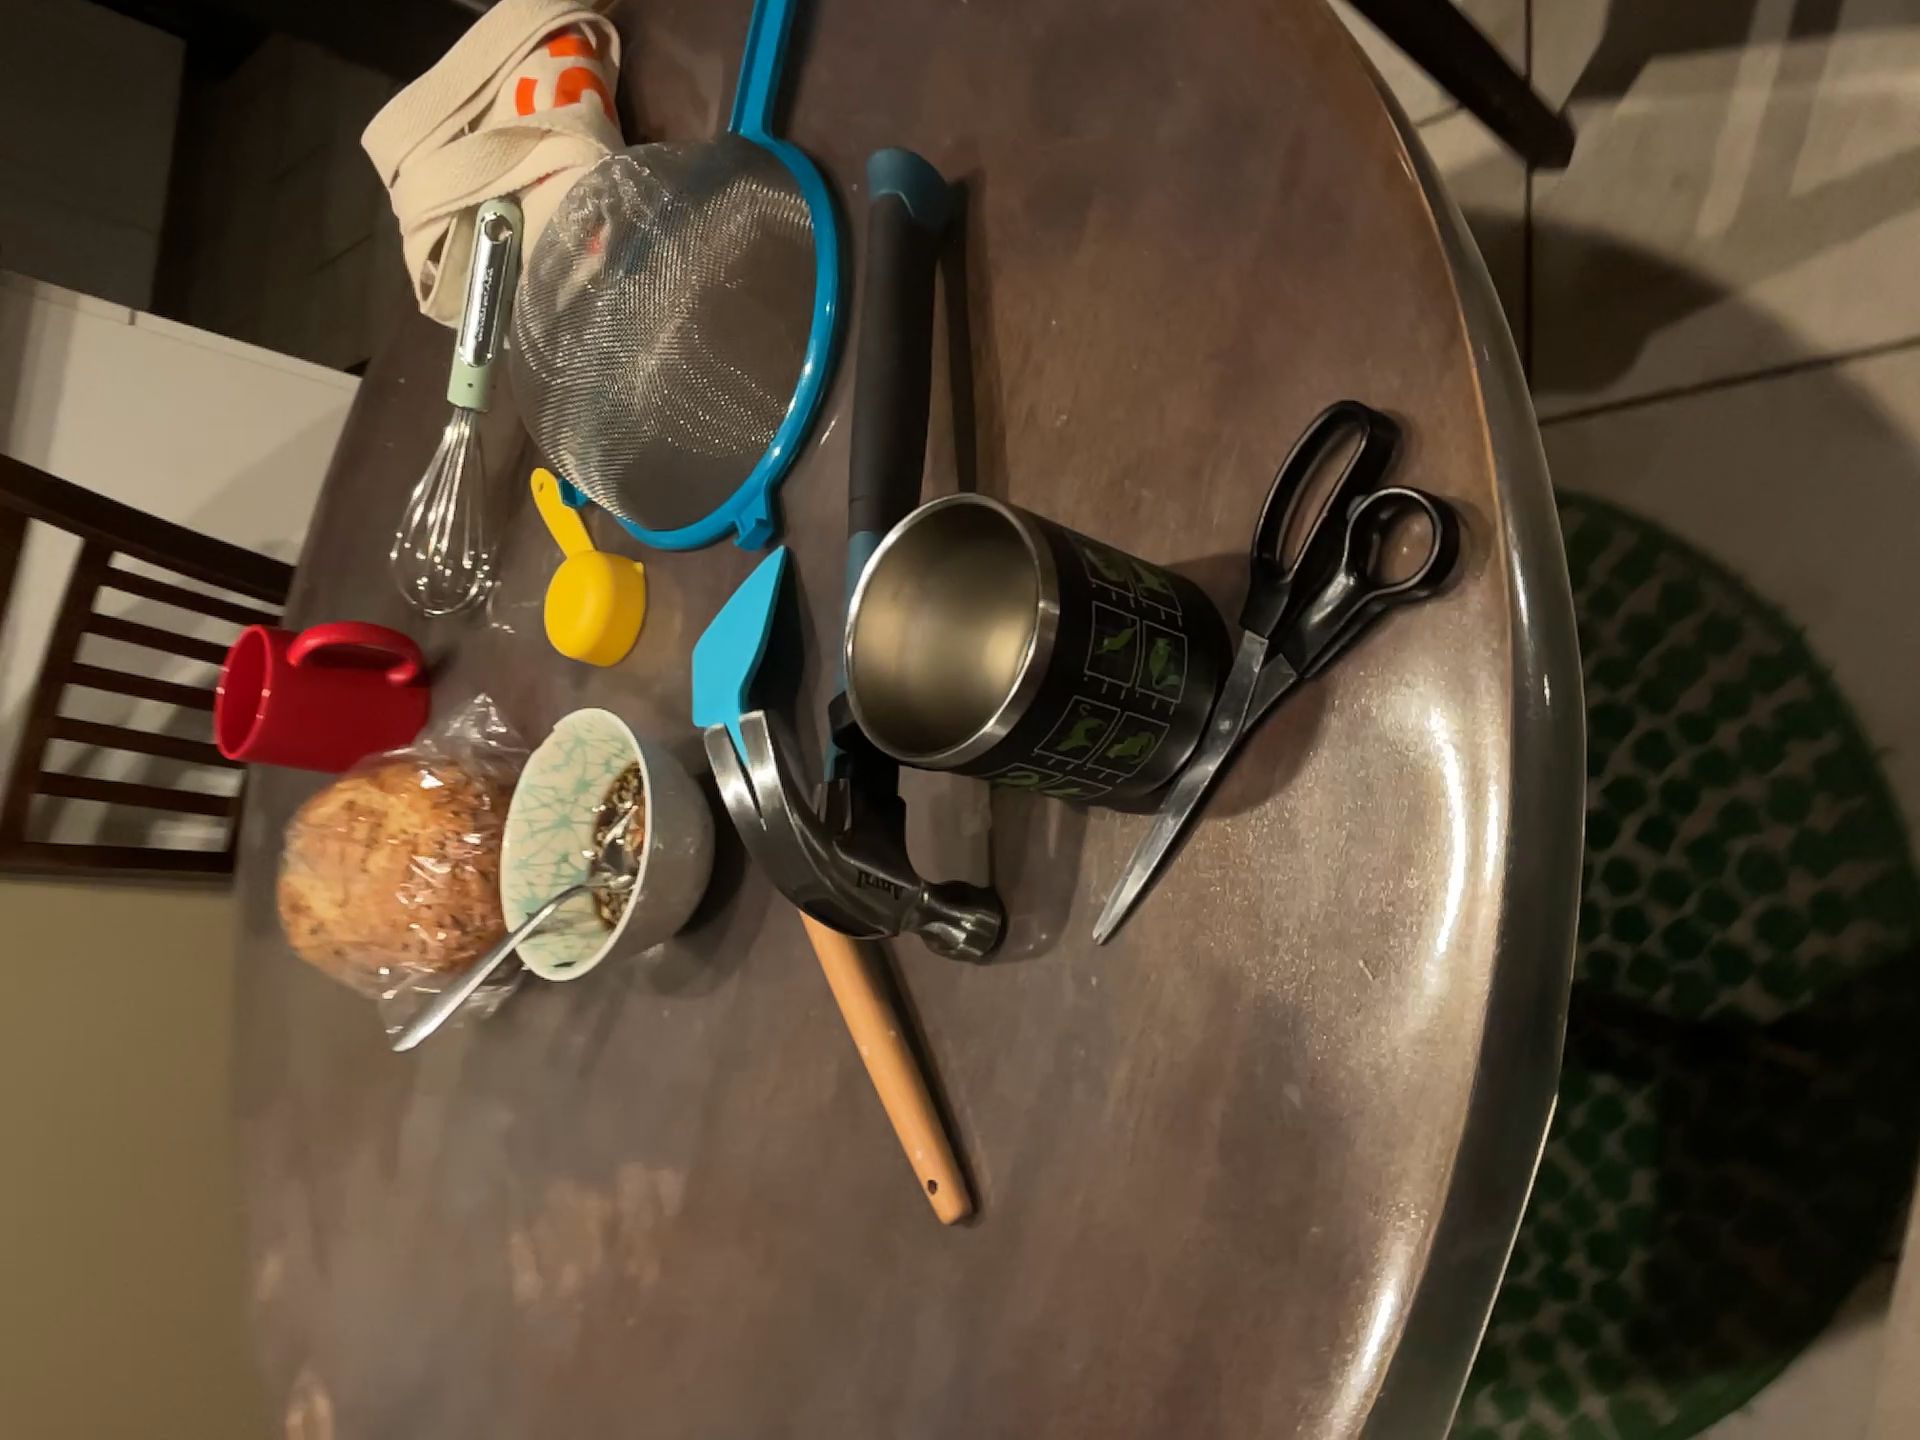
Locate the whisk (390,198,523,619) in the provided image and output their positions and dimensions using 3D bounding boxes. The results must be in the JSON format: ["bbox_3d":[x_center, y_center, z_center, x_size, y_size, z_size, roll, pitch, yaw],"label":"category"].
[{"bbox_3d":[-0.285,-0.175,0.922,0.059,0.058,0.246,-114,38,-71],"label":"whisk"}]

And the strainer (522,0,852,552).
[{"bbox_3d":[-0.141,-0.257,0.781,0.211,0.095,0.340,17,98,46],"label":"strainer"}]

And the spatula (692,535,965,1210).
[{"bbox_3d":[-0.058,0.056,0.677,0.082,0.044,0.318,-44,57,29],"label":"spatula"}]

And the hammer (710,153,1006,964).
[{"bbox_3d":[-0.027,-0.079,0.629,0.033,0.128,0.331,-17,61,40],"label":"hammer"}]

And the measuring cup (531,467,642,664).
[{"bbox_3d":[-0.216,-0.092,0.865,0.062,0.029,0.157,-53,50,23],"label":"measuring cup"}]
